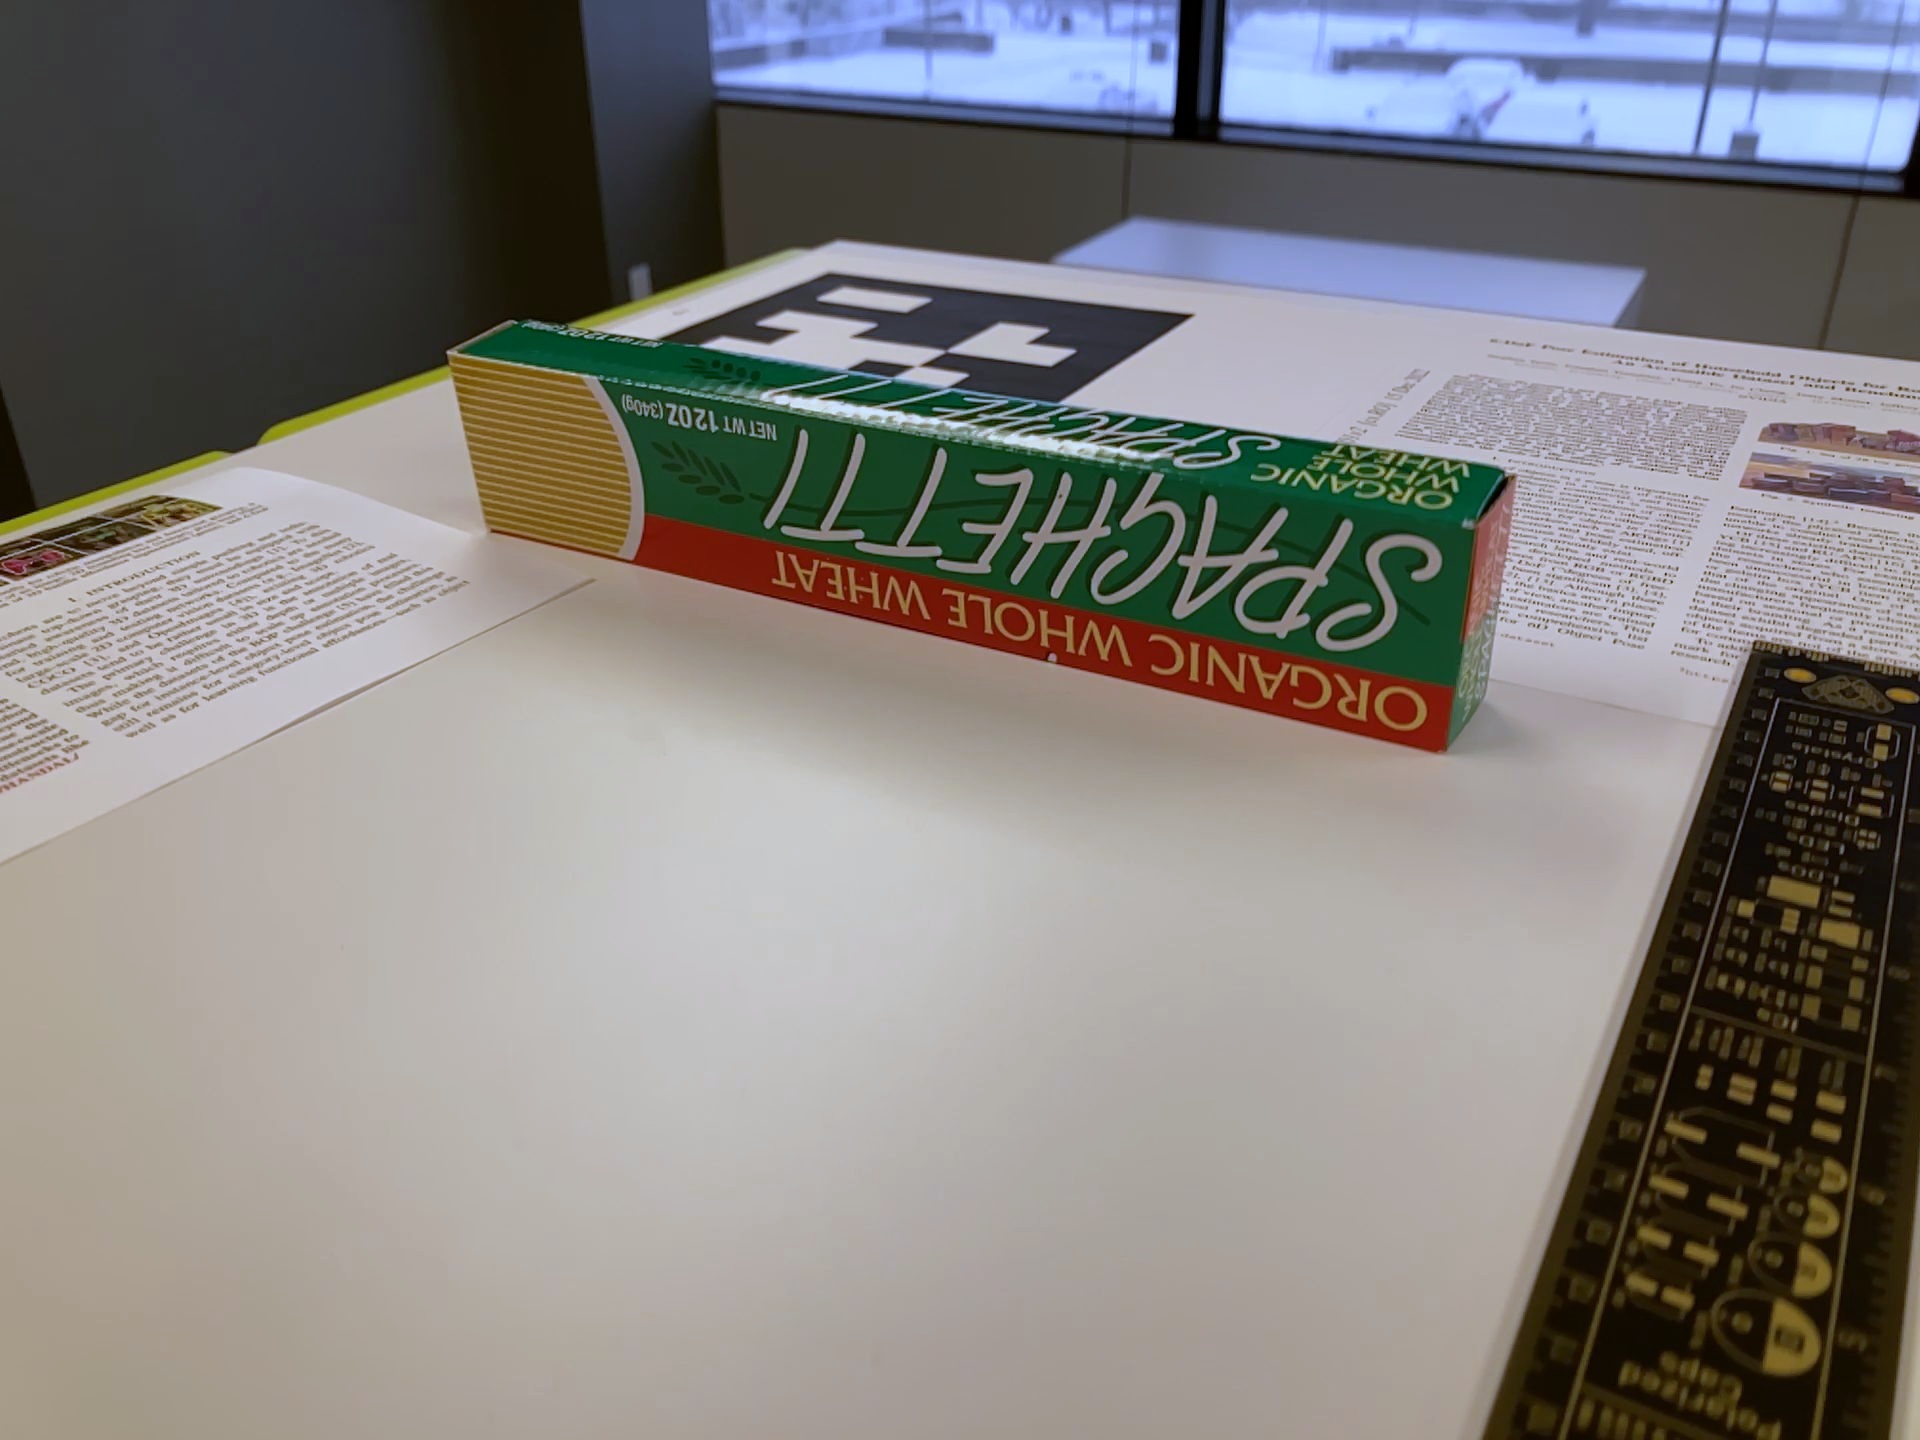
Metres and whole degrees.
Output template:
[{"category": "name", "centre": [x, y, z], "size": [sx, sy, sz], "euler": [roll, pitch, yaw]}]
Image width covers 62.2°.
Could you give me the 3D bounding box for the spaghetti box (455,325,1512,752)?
[{"category": "spaghetti box", "centre": [-0.009, -0.047, 0.354], "size": [0.250, 0.050, 0.028], "euler": [15, 36, 26]}]
